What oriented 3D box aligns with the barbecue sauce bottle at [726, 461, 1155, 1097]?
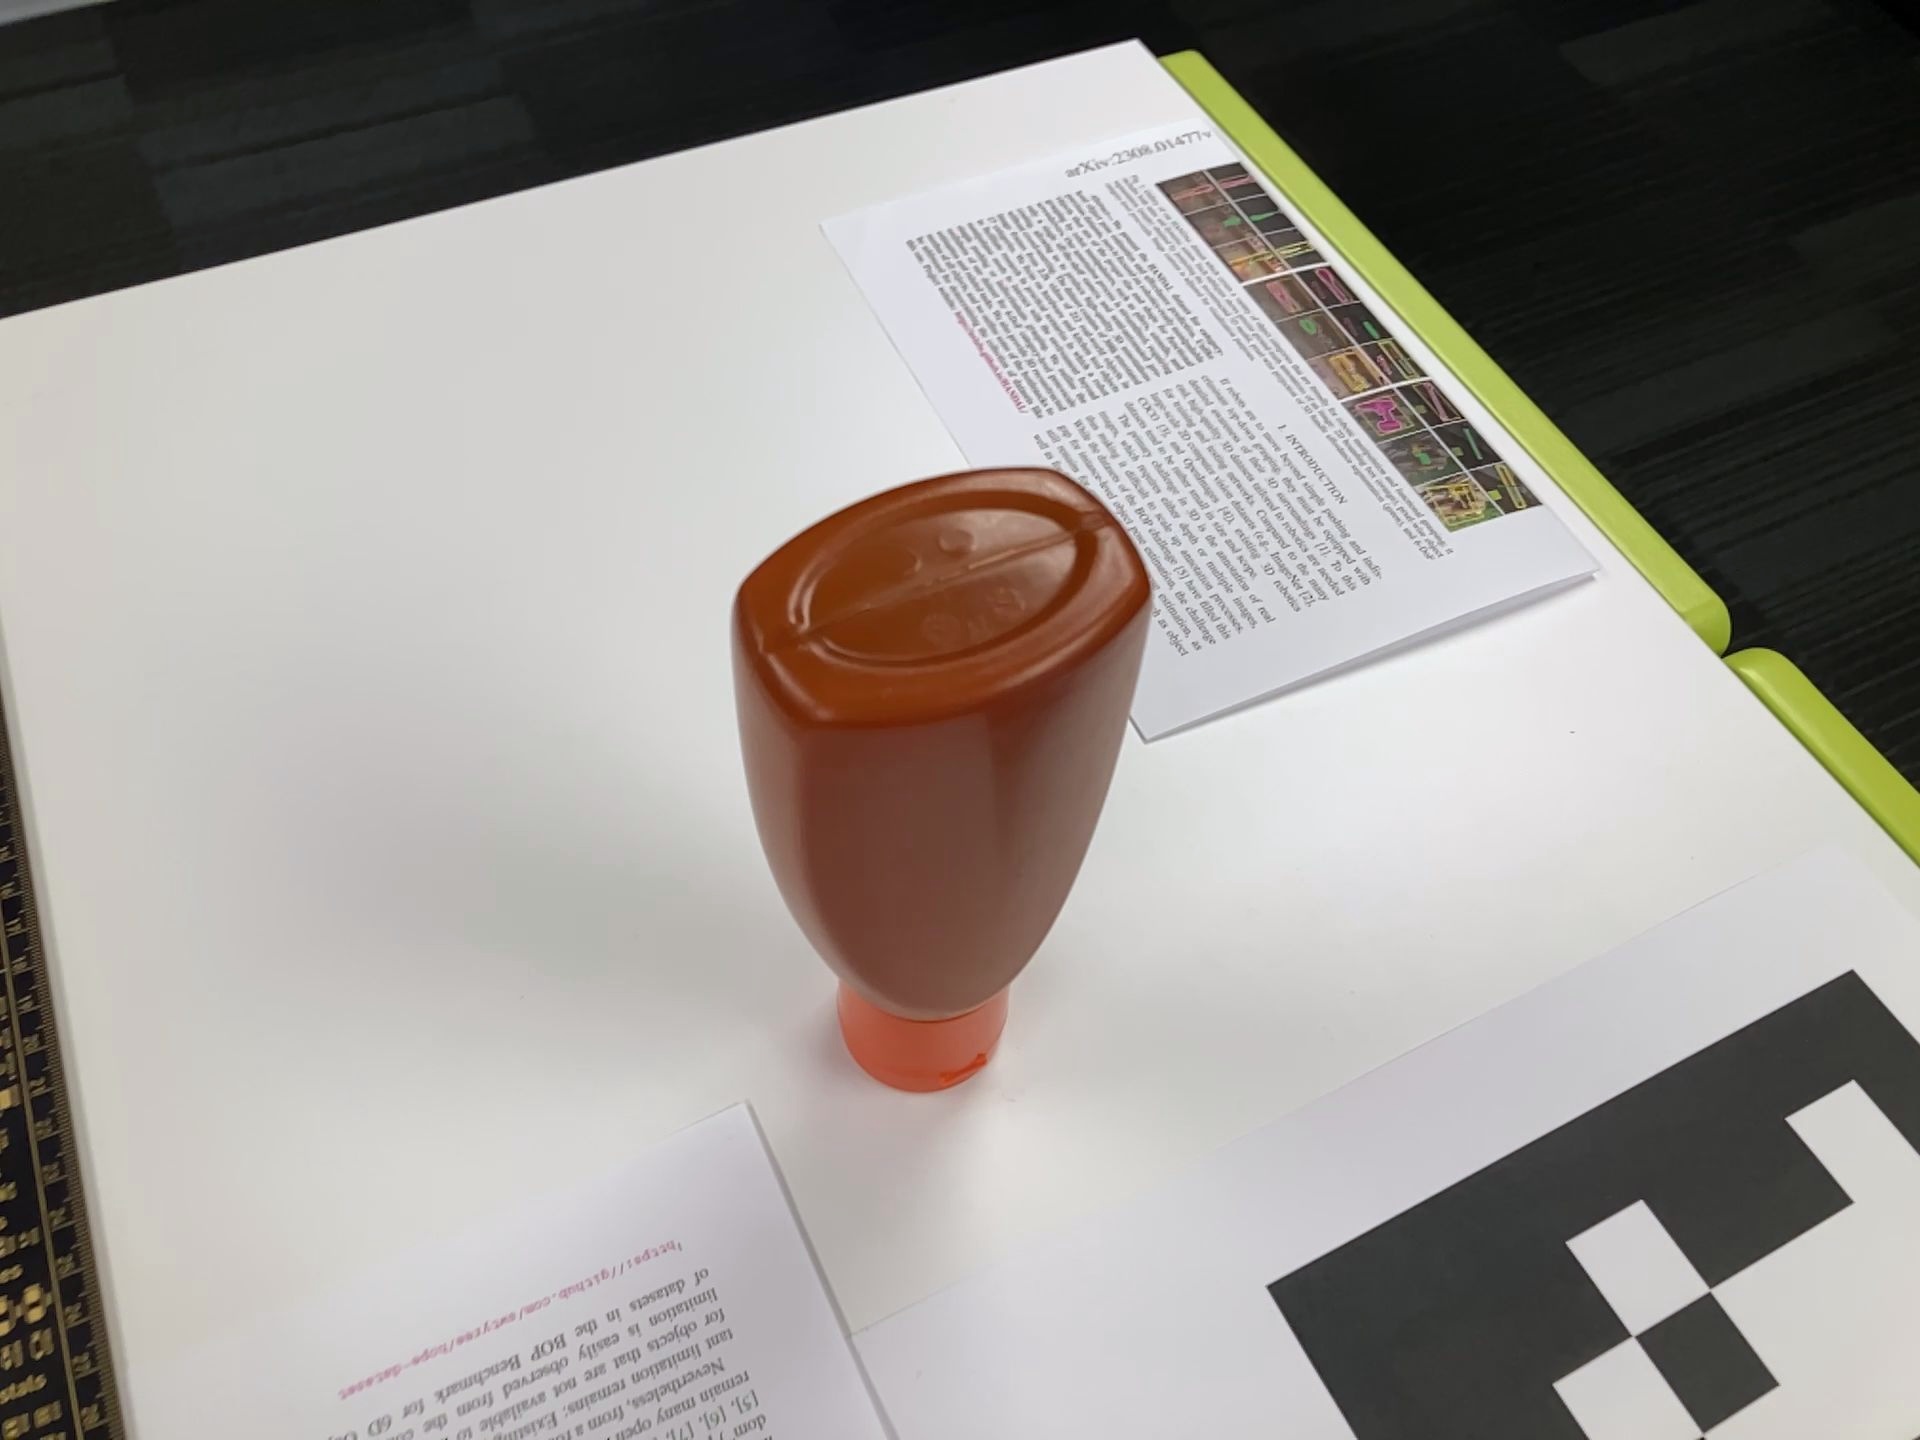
[{"bbox_3d":[-0.005,0.023,0.286,0.065,0.148,0.043,-22,58,-18],"label":"barbecue sauce bottle"}]
